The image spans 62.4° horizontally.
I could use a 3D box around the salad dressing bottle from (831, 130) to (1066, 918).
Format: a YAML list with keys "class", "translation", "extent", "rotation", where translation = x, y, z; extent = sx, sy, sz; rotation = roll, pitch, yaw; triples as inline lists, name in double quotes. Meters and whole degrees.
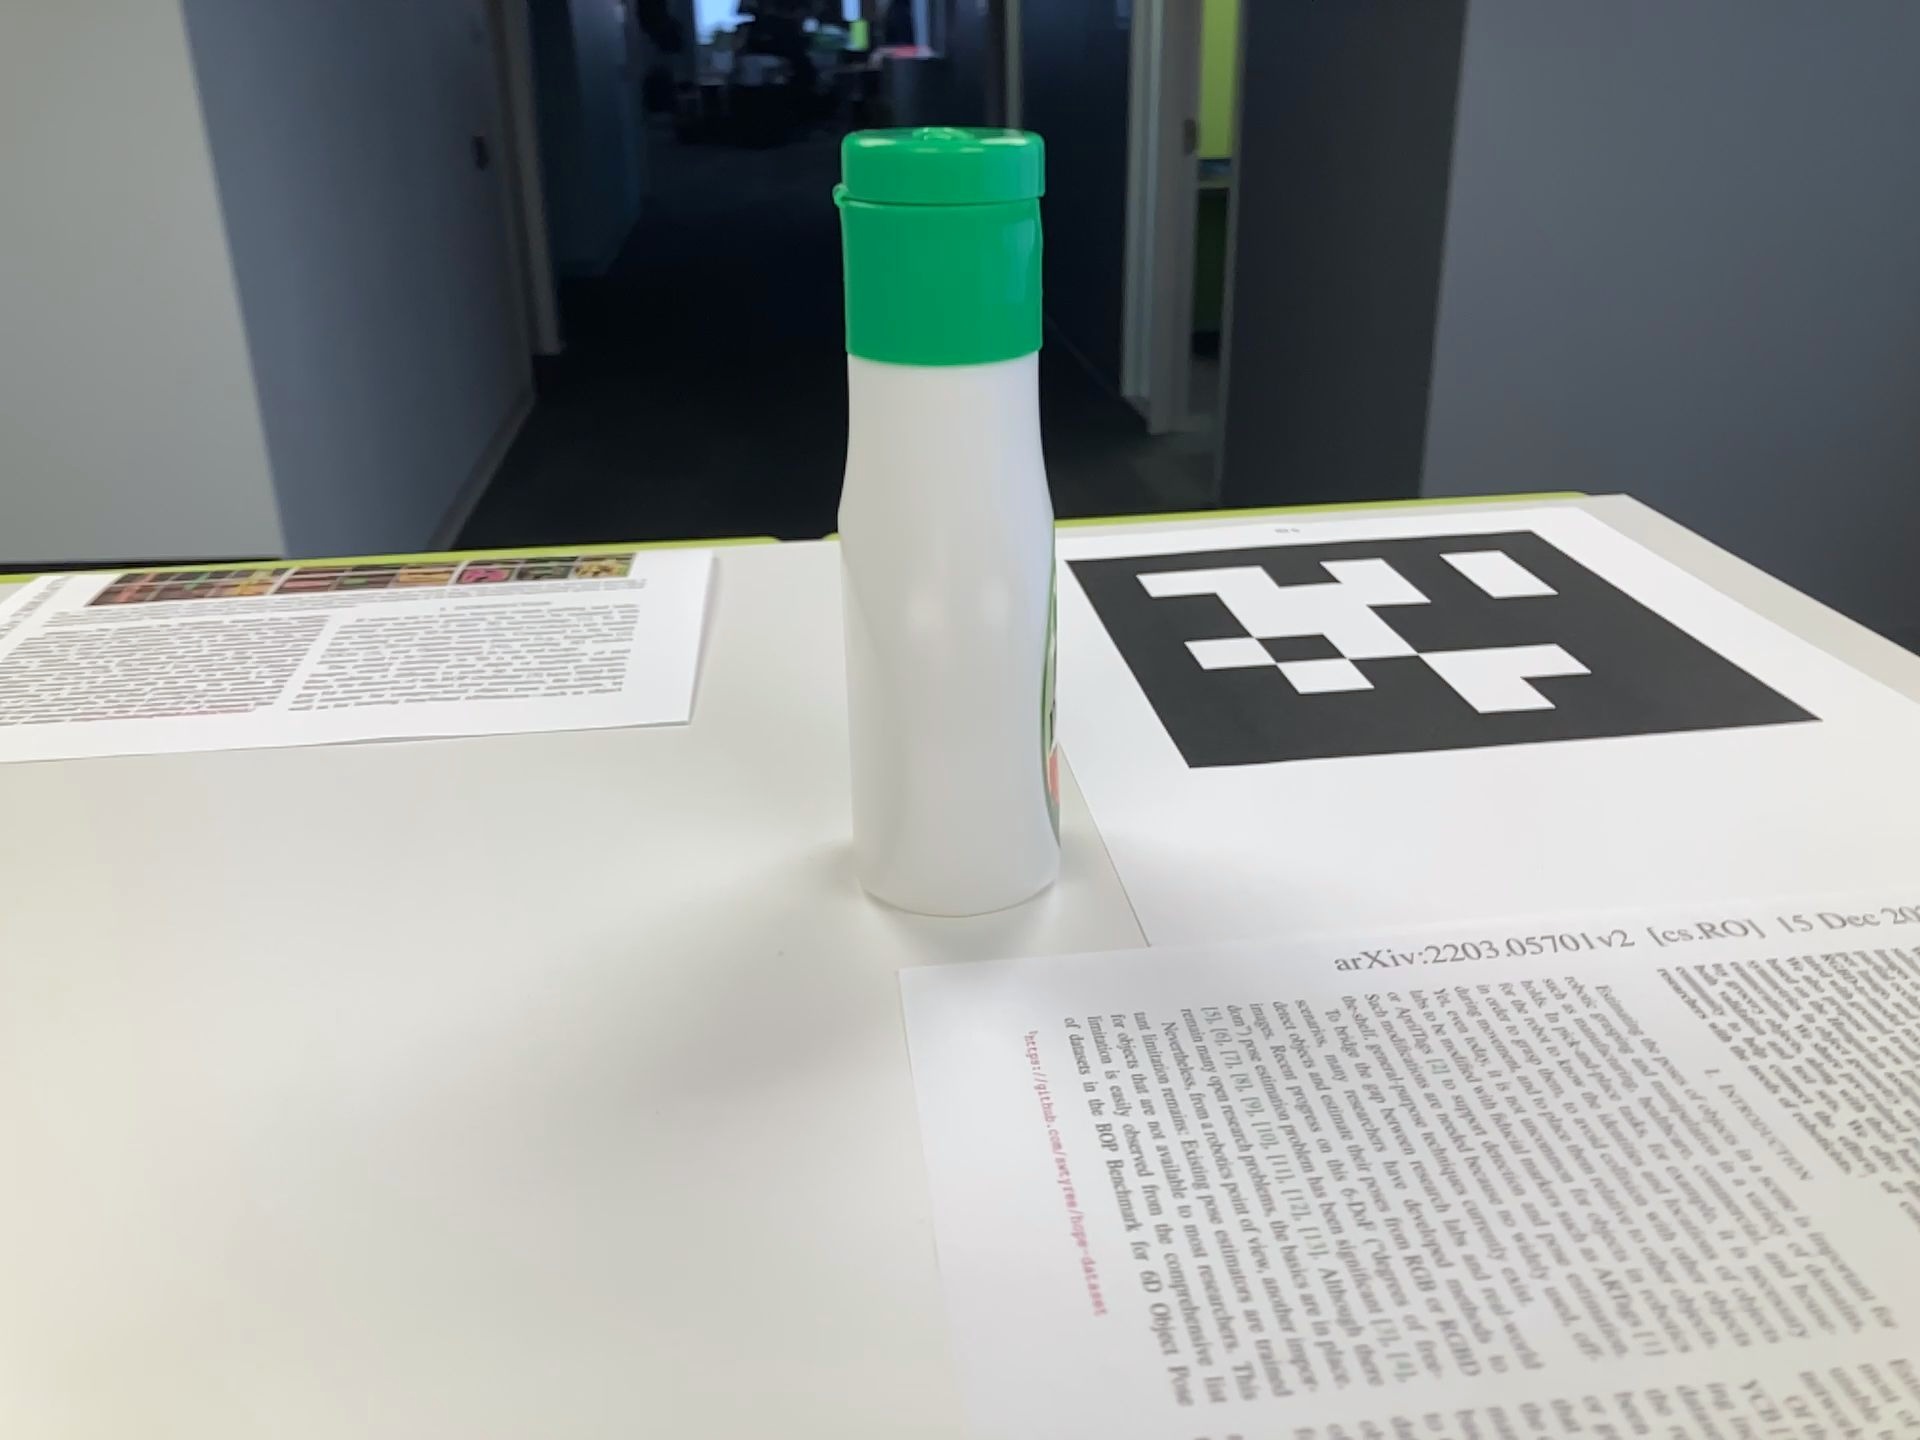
- class: "salad dressing bottle"
  translation: [-0.002, -0.036, 0.308]
  extent: [0.044, 0.147, 0.064]
  rotation: [-4, 24, -5]
